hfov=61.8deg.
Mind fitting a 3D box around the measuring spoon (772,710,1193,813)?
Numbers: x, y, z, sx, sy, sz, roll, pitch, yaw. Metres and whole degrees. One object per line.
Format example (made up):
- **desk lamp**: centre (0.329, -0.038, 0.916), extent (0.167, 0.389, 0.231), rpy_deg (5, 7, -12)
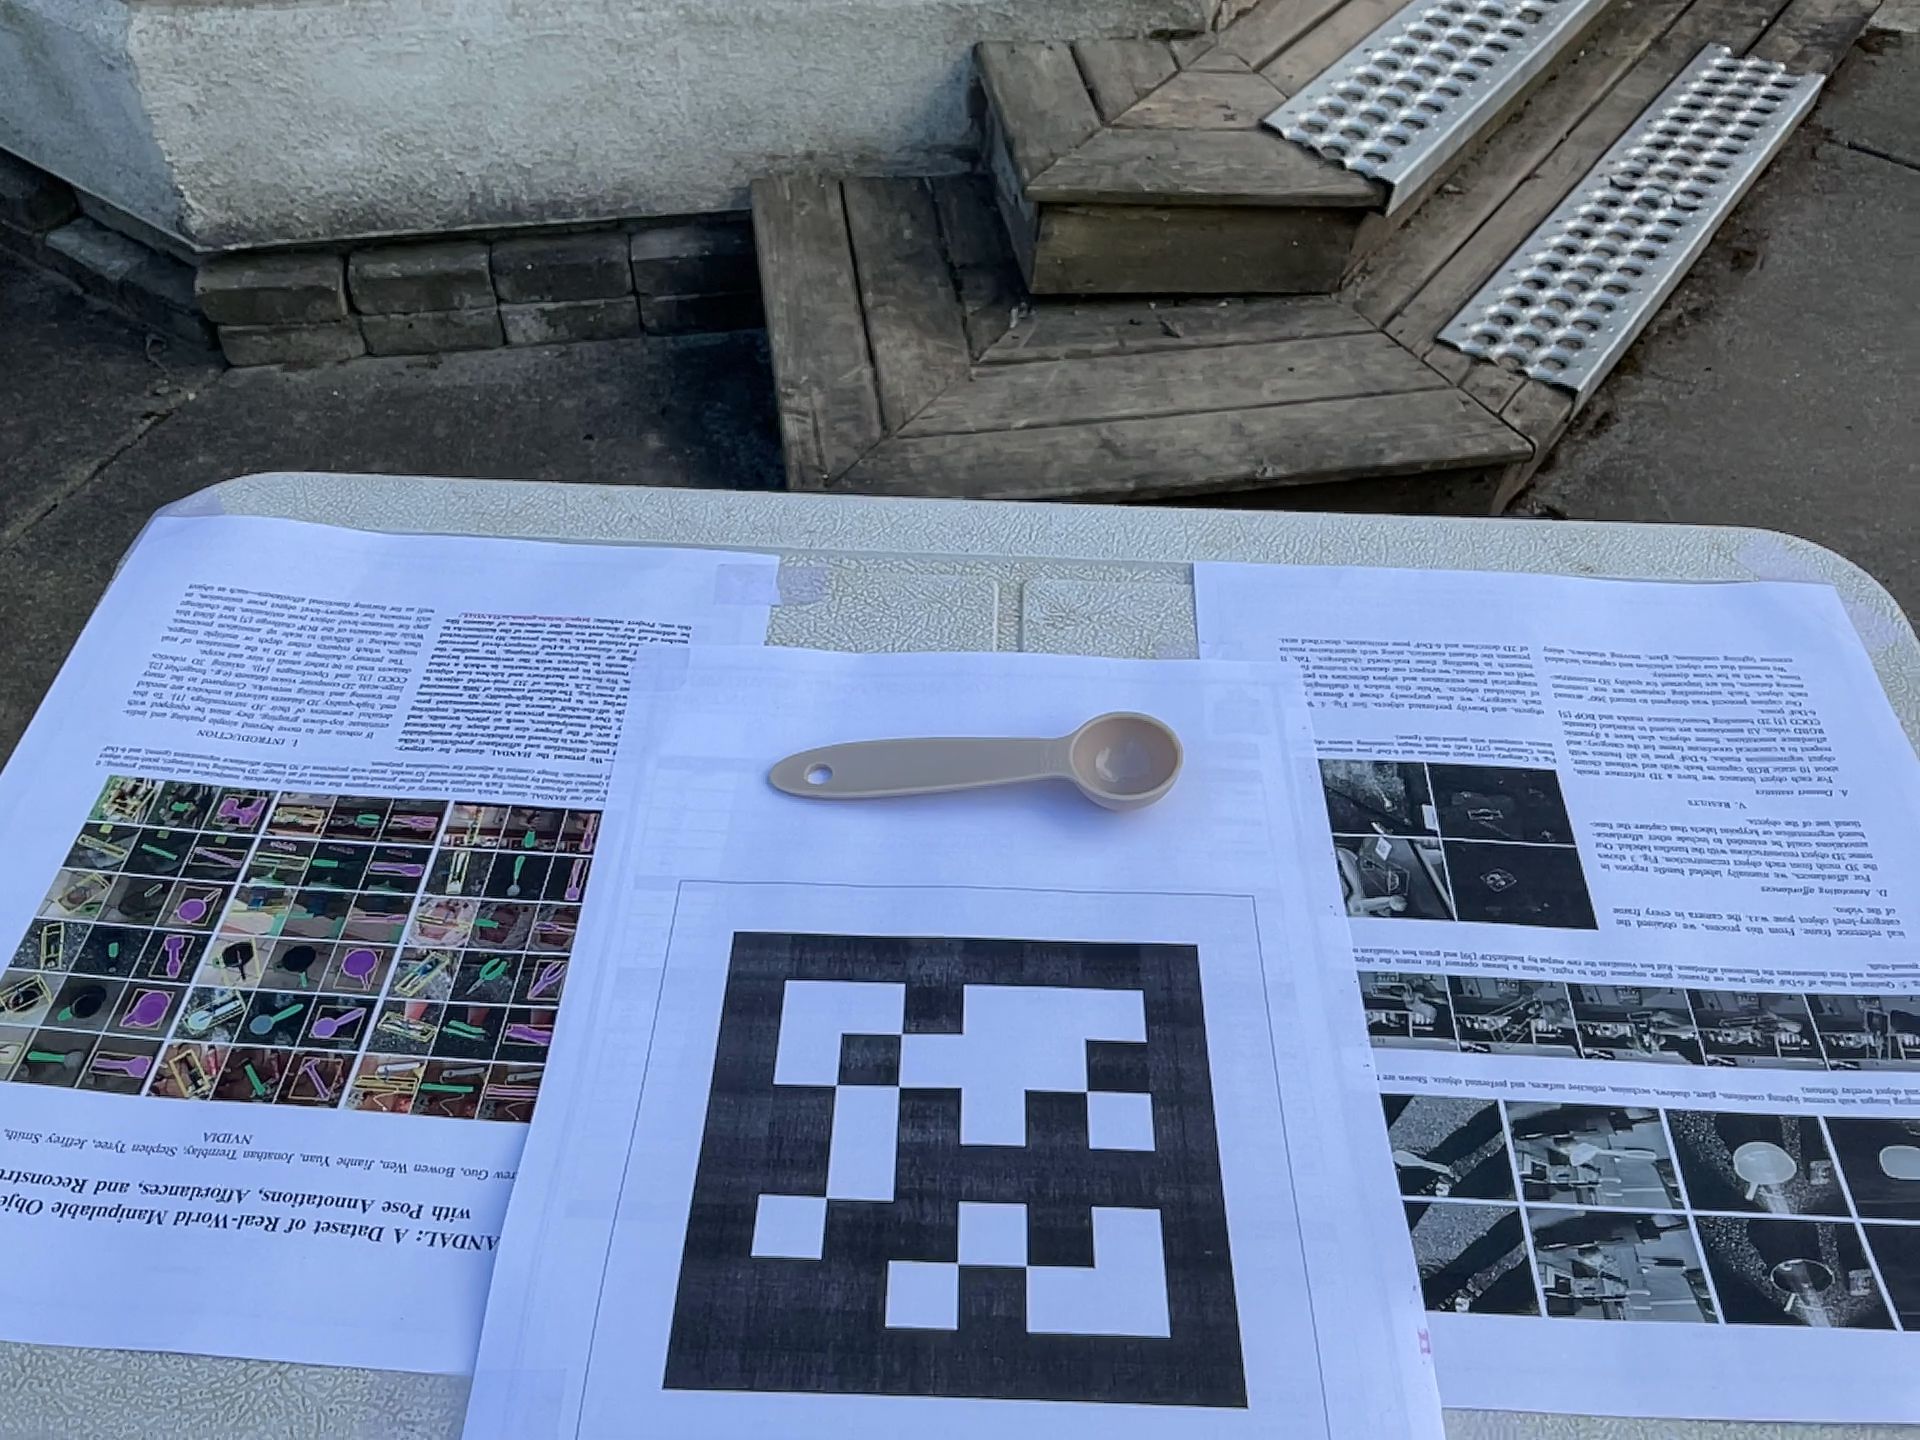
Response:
- **measuring spoon**: centre (0.006, 0.017, 0.475), extent (0.124, 0.018, 0.034), rpy_deg (-3, 49, 6)
